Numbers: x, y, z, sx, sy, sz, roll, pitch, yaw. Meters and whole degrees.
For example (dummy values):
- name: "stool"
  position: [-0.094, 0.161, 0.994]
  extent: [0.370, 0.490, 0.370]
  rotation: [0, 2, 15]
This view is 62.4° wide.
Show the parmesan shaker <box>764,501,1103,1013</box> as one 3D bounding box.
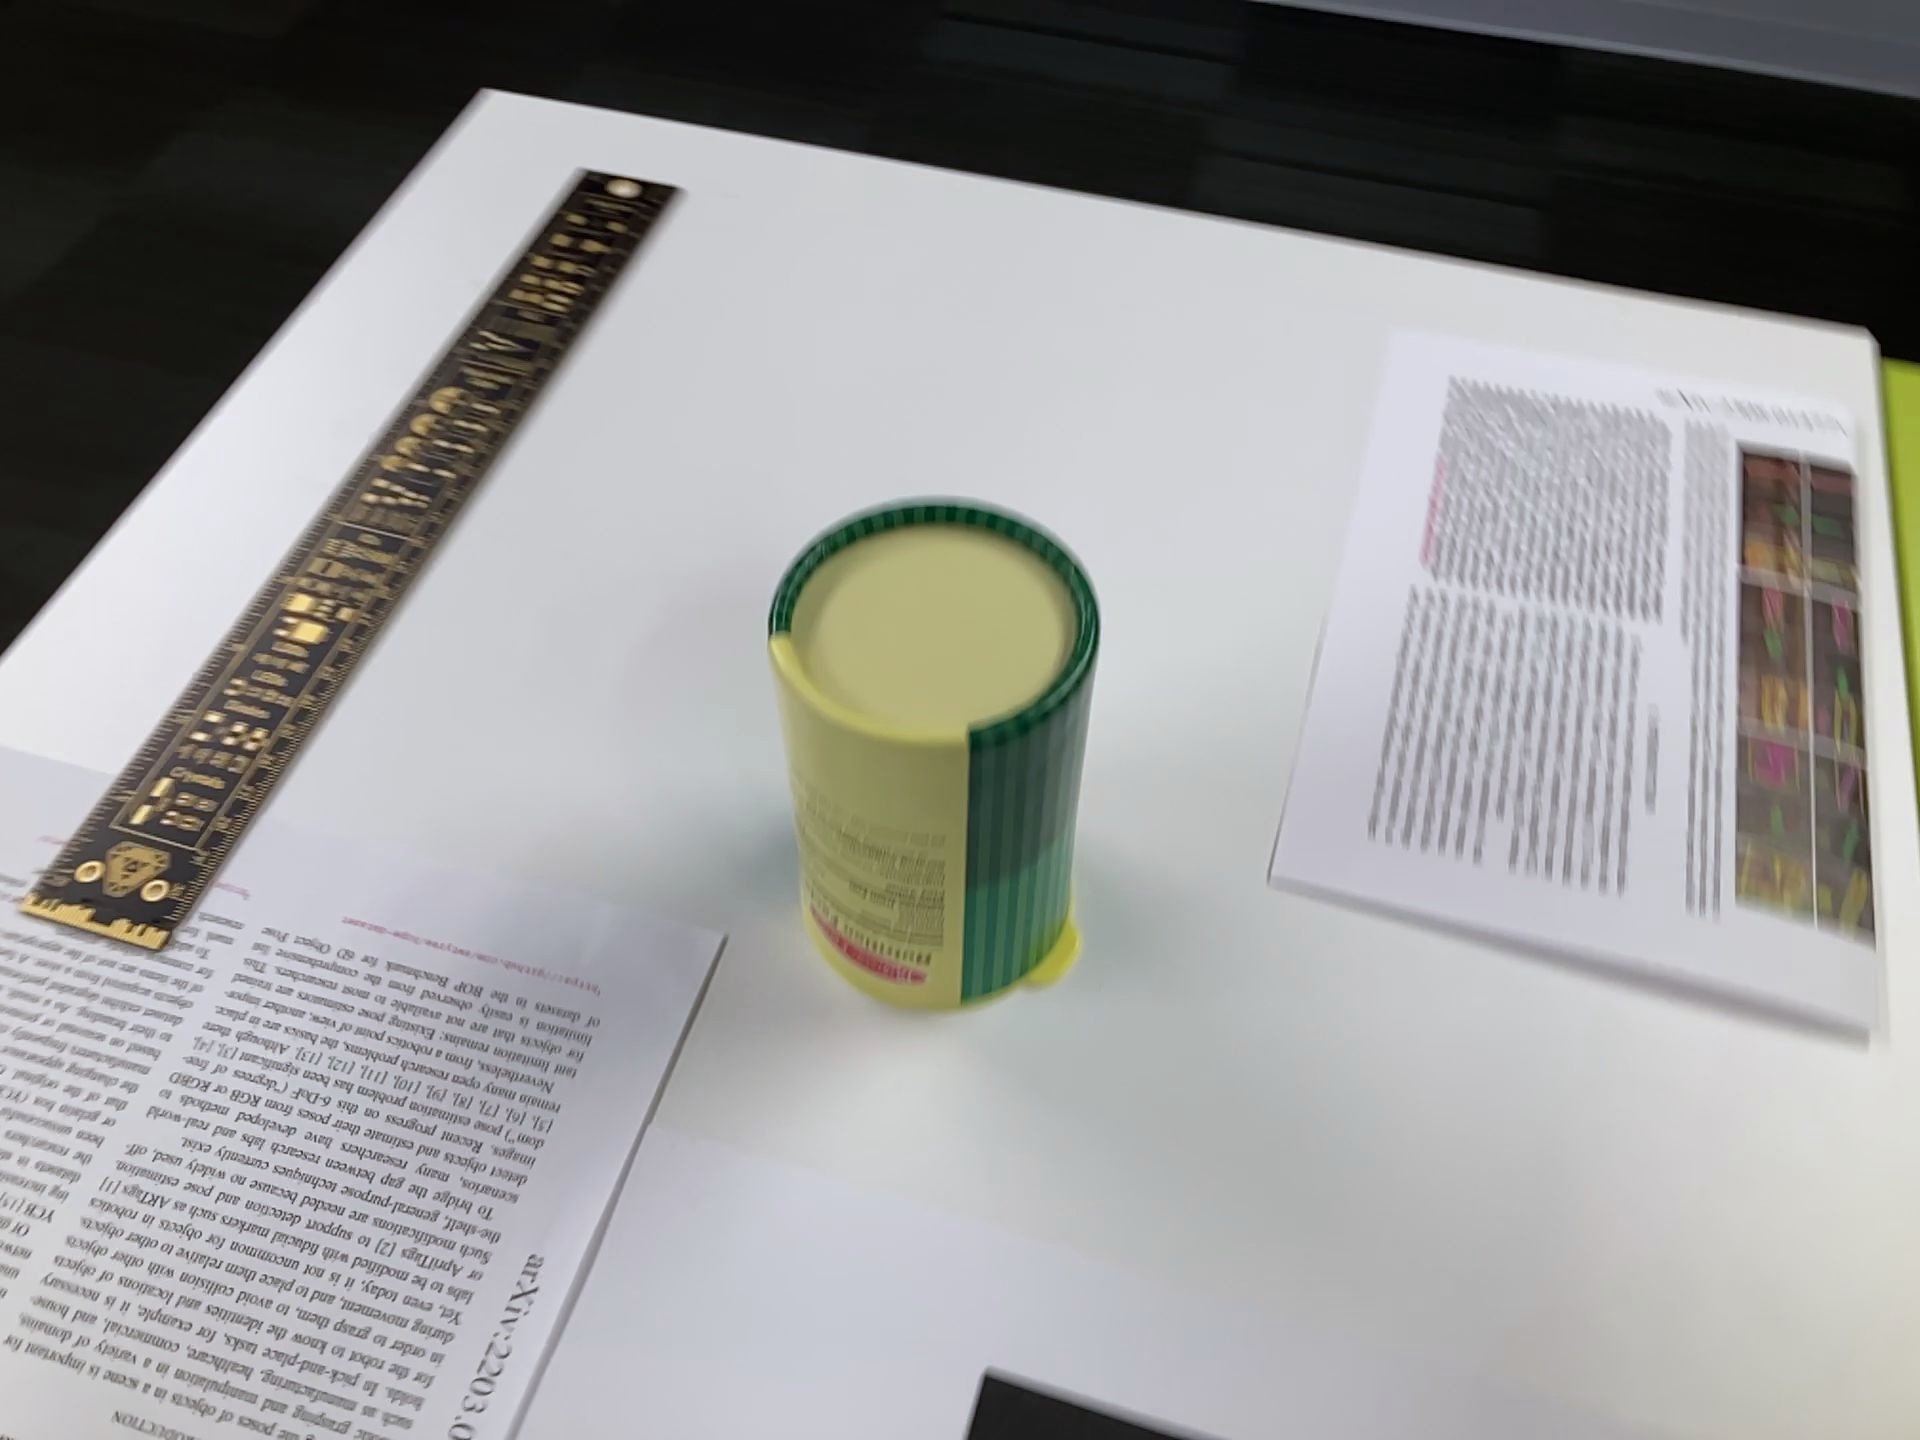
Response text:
- name: "parmesan shaker"
  position: [-0.003, 0.011, 0.344]
  extent: [0.071, 0.103, 0.071]
  rotation: [0, 53, -1]
